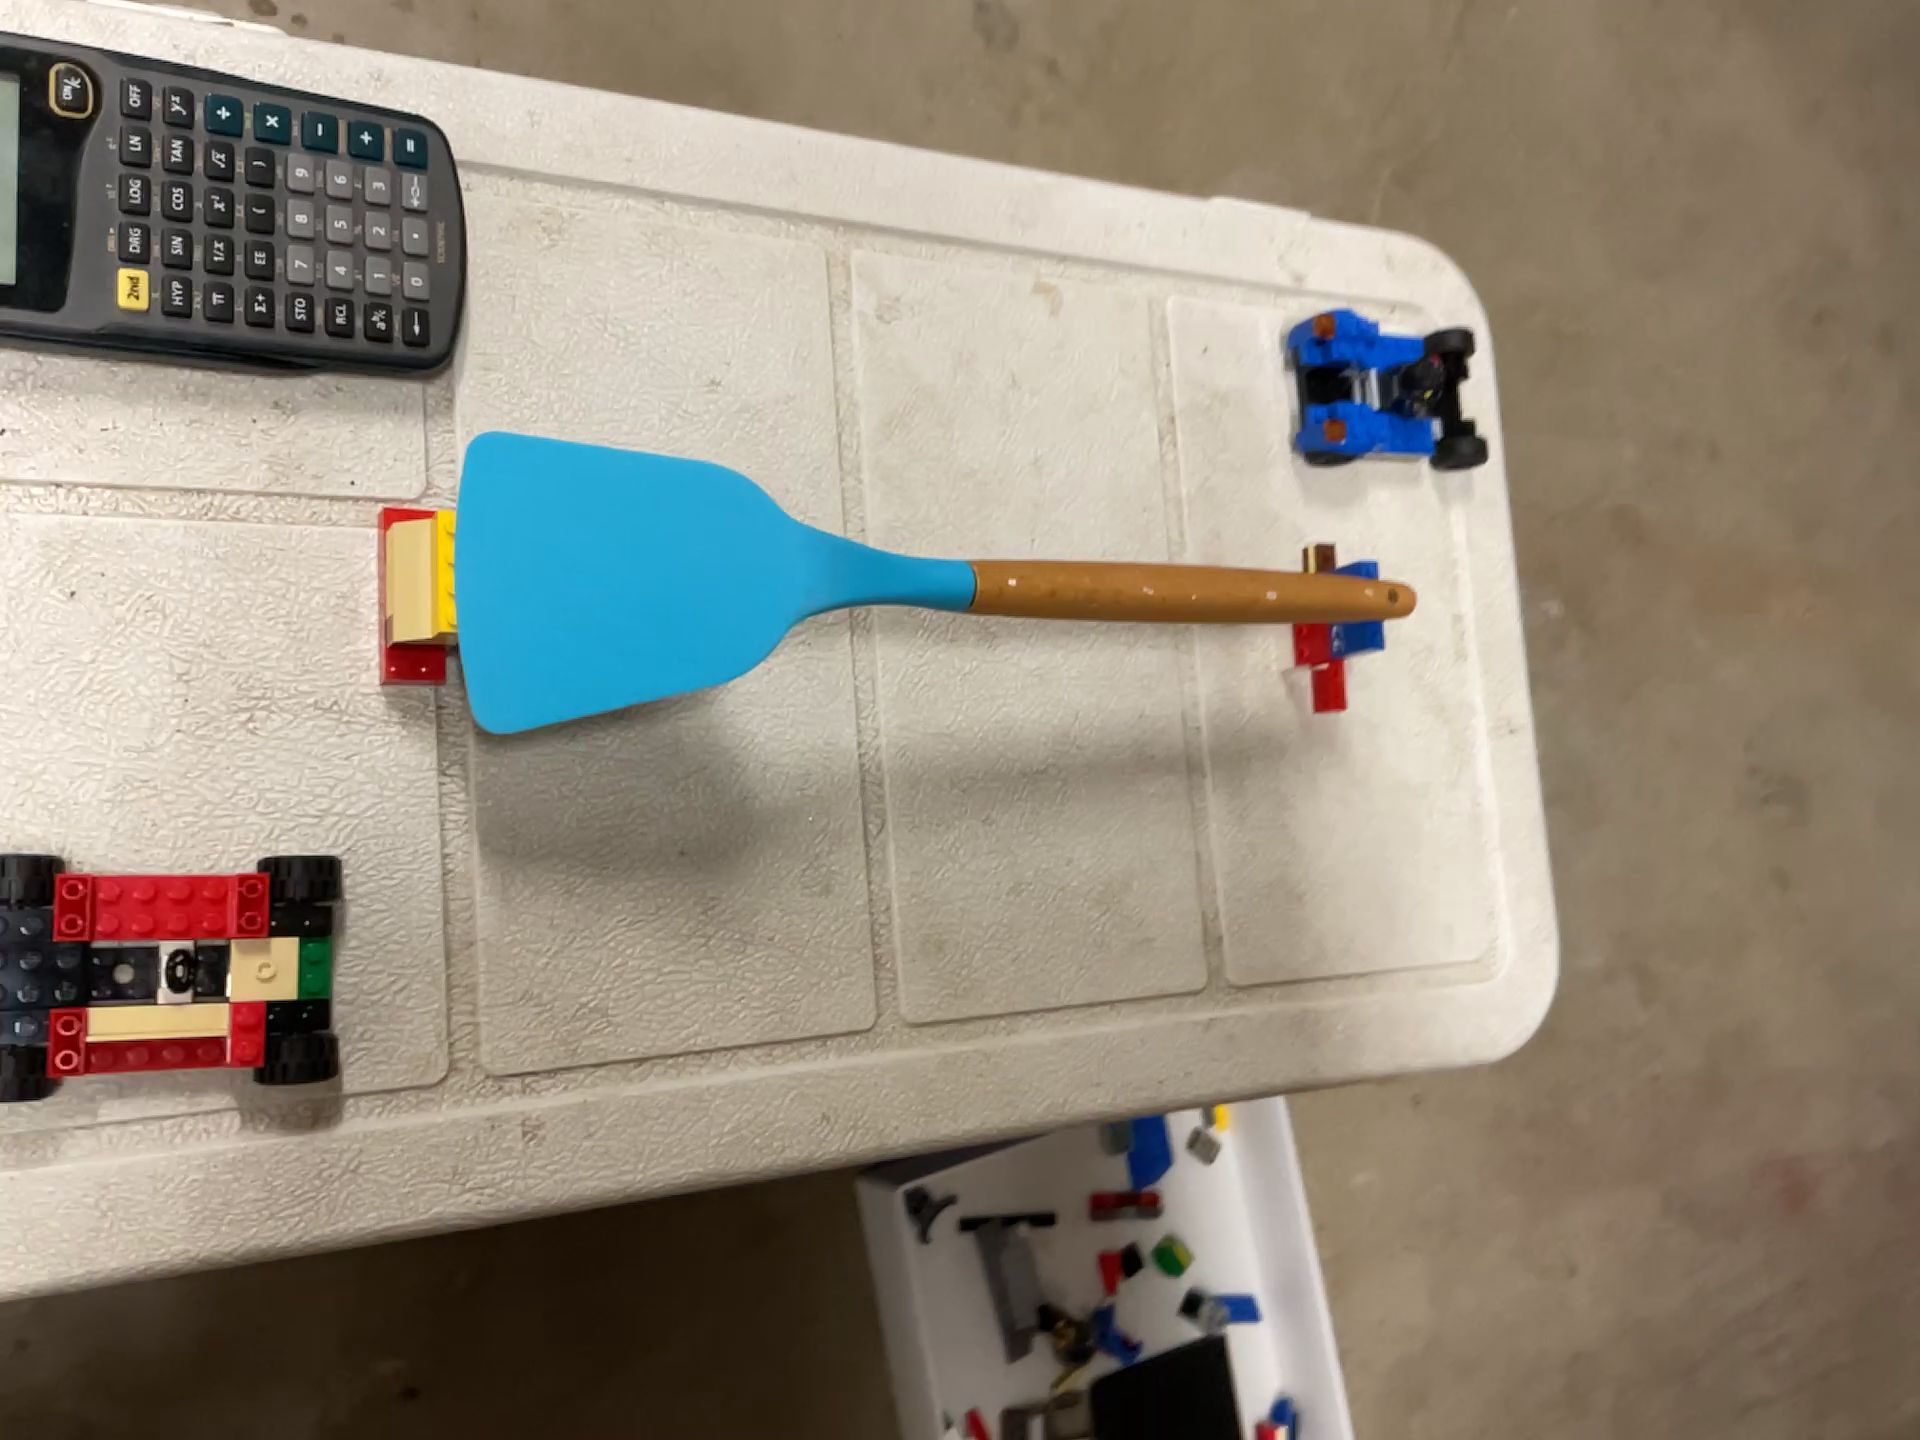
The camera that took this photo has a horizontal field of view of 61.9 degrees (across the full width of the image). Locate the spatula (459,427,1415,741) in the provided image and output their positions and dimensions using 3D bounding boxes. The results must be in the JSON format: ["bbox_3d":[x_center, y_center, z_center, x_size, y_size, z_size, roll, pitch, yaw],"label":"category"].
[{"bbox_3d":[0.016,-0.038,0.480,0.318,0.044,0.082,0,82,-33],"label":"spatula"}]
